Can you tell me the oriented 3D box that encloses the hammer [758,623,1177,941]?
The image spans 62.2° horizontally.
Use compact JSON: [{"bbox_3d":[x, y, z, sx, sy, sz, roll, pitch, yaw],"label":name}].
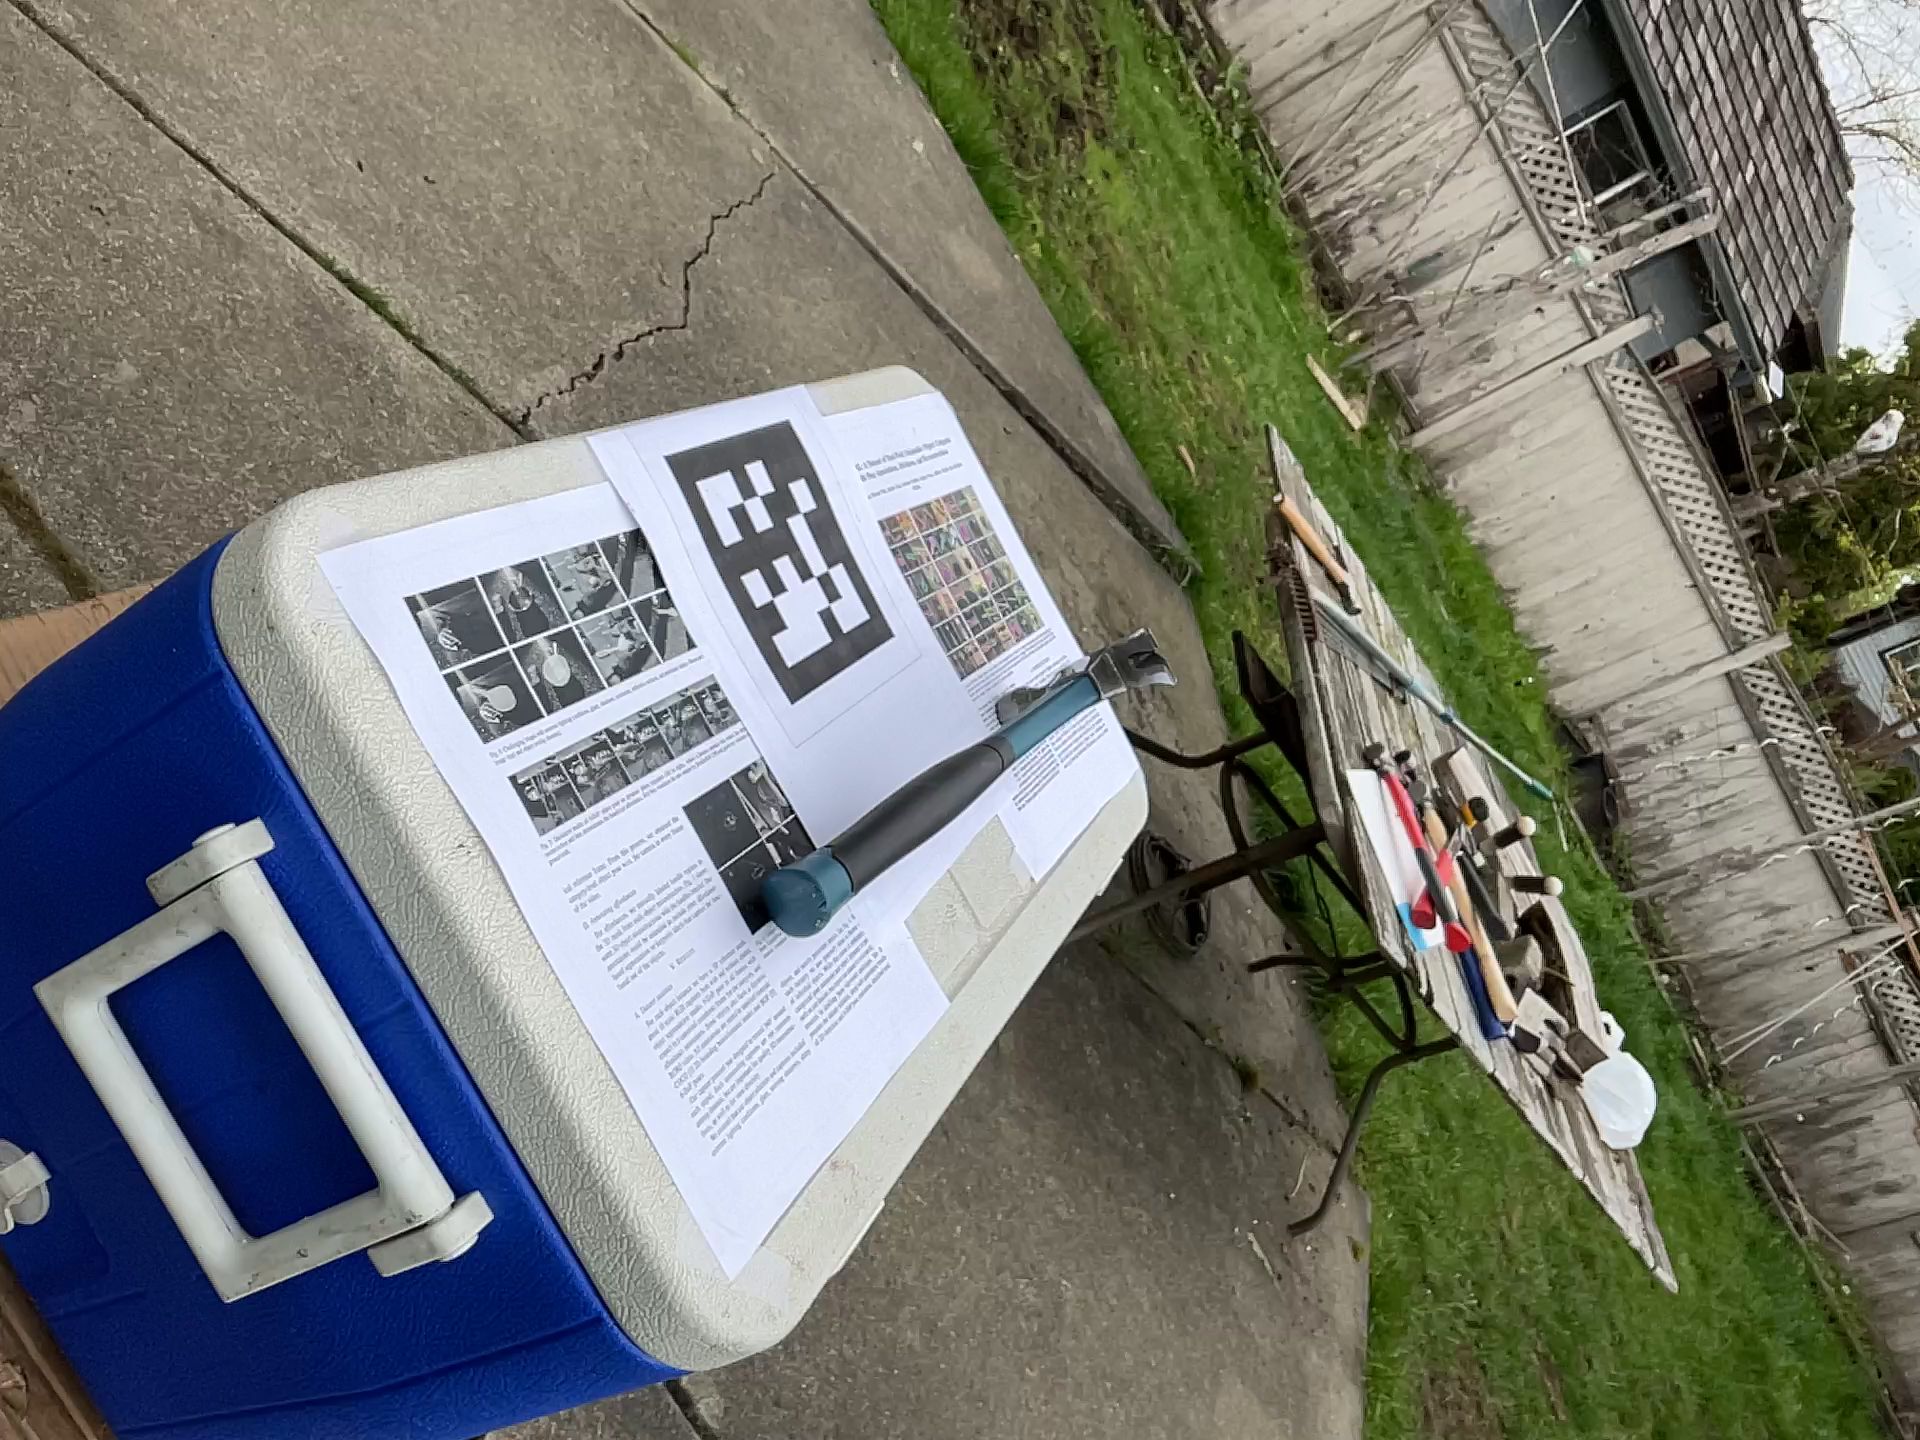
[{"bbox_3d":[0.007,0.023,0.763,0.033,0.128,0.331,60,34,-3],"label":"hammer"}]
